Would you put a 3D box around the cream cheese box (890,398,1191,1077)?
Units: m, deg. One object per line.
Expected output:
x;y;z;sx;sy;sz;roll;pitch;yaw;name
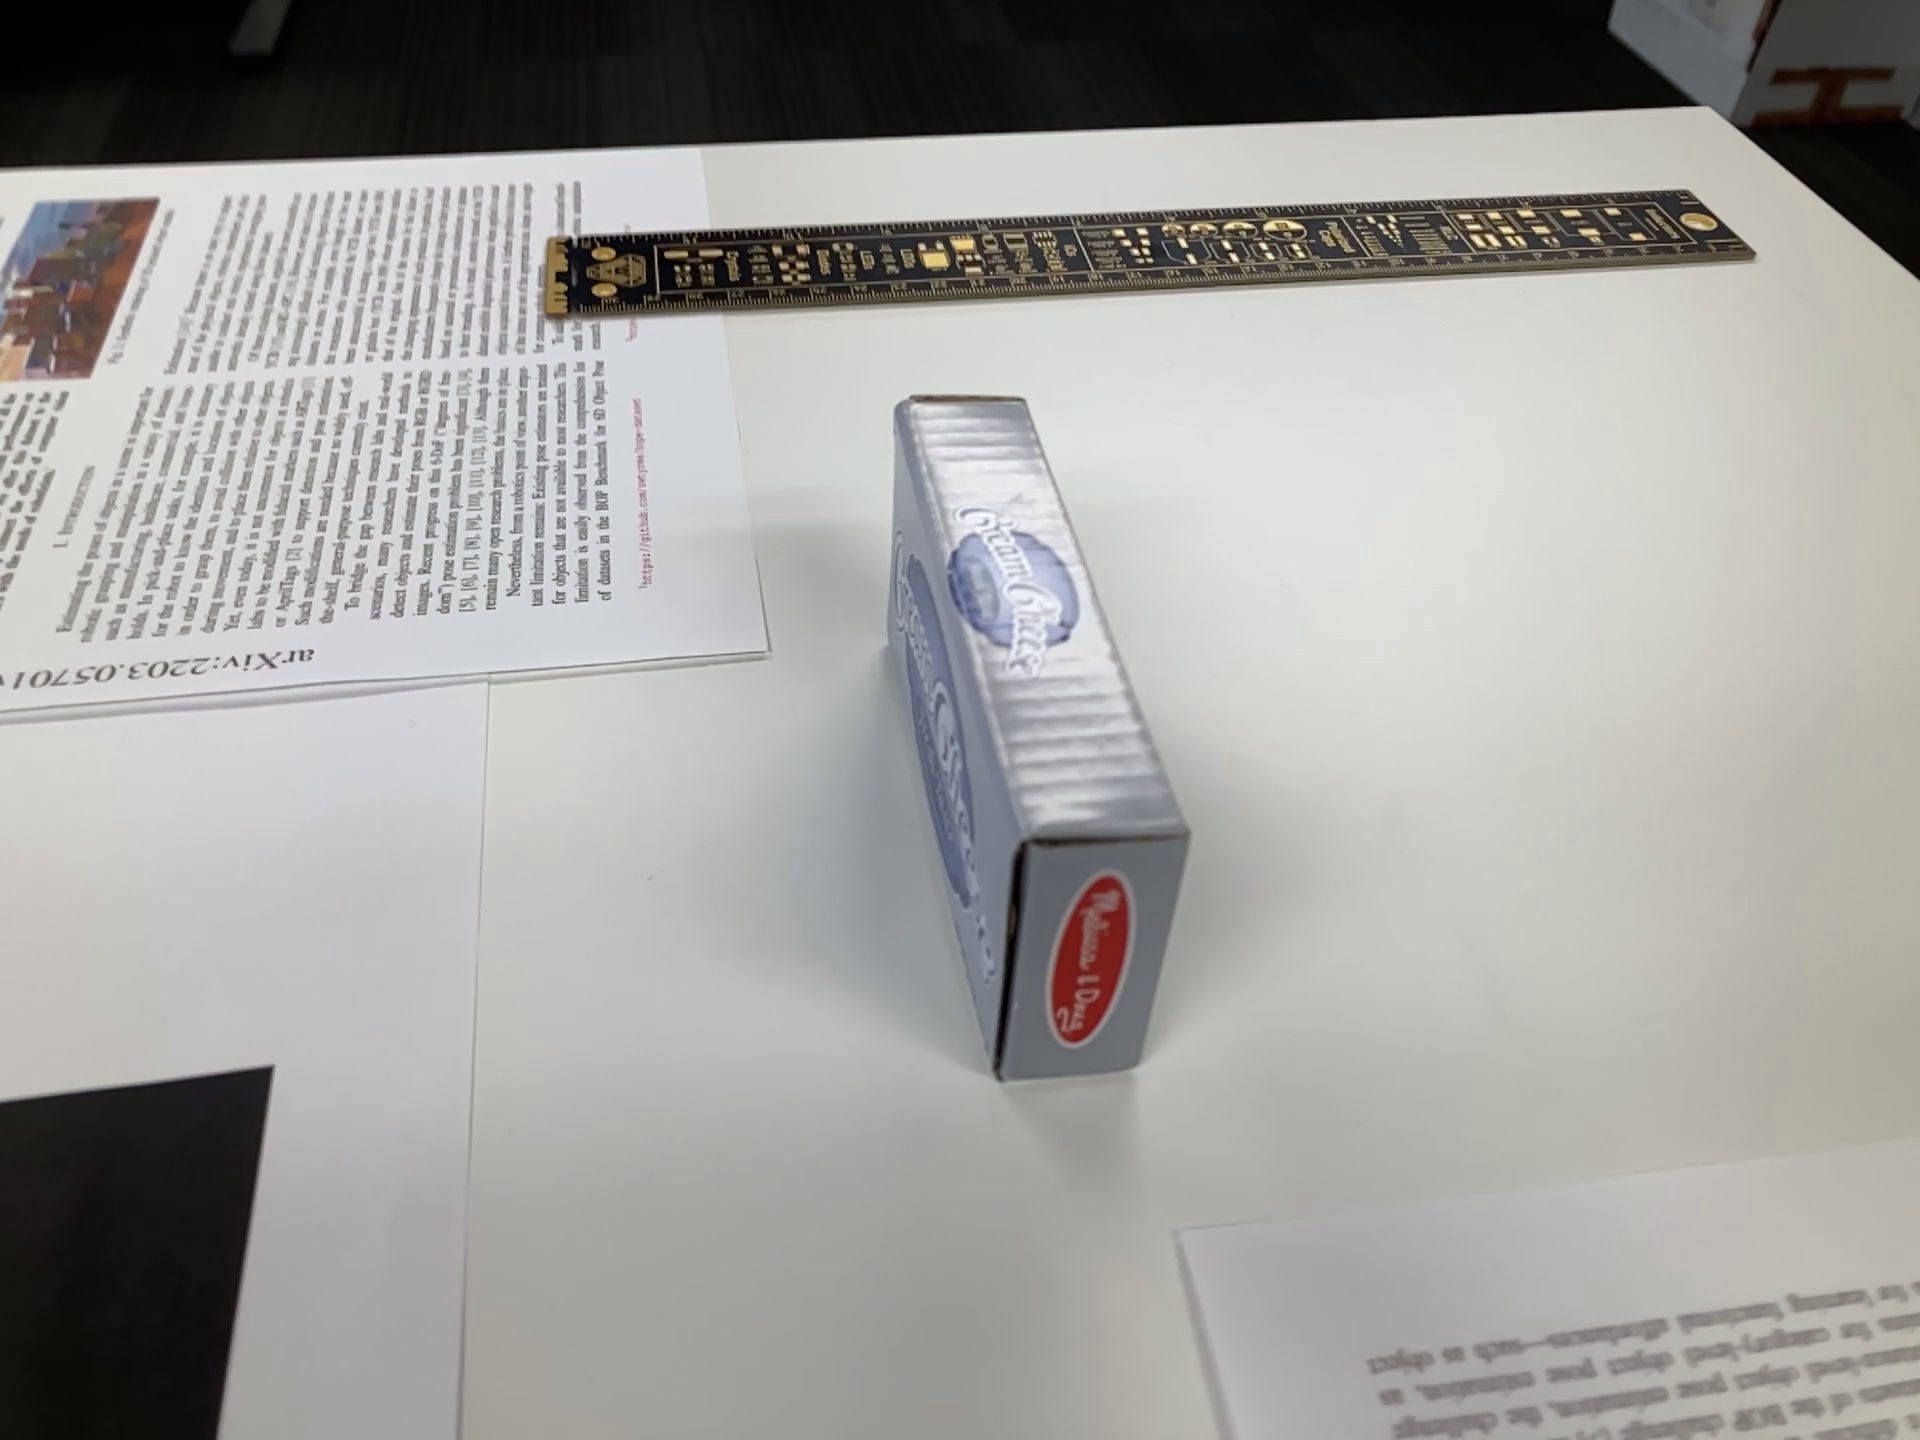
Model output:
0.008;-0.001;0.252;0.024;0.053;0.104;-4;44;-10;cream cheese box
